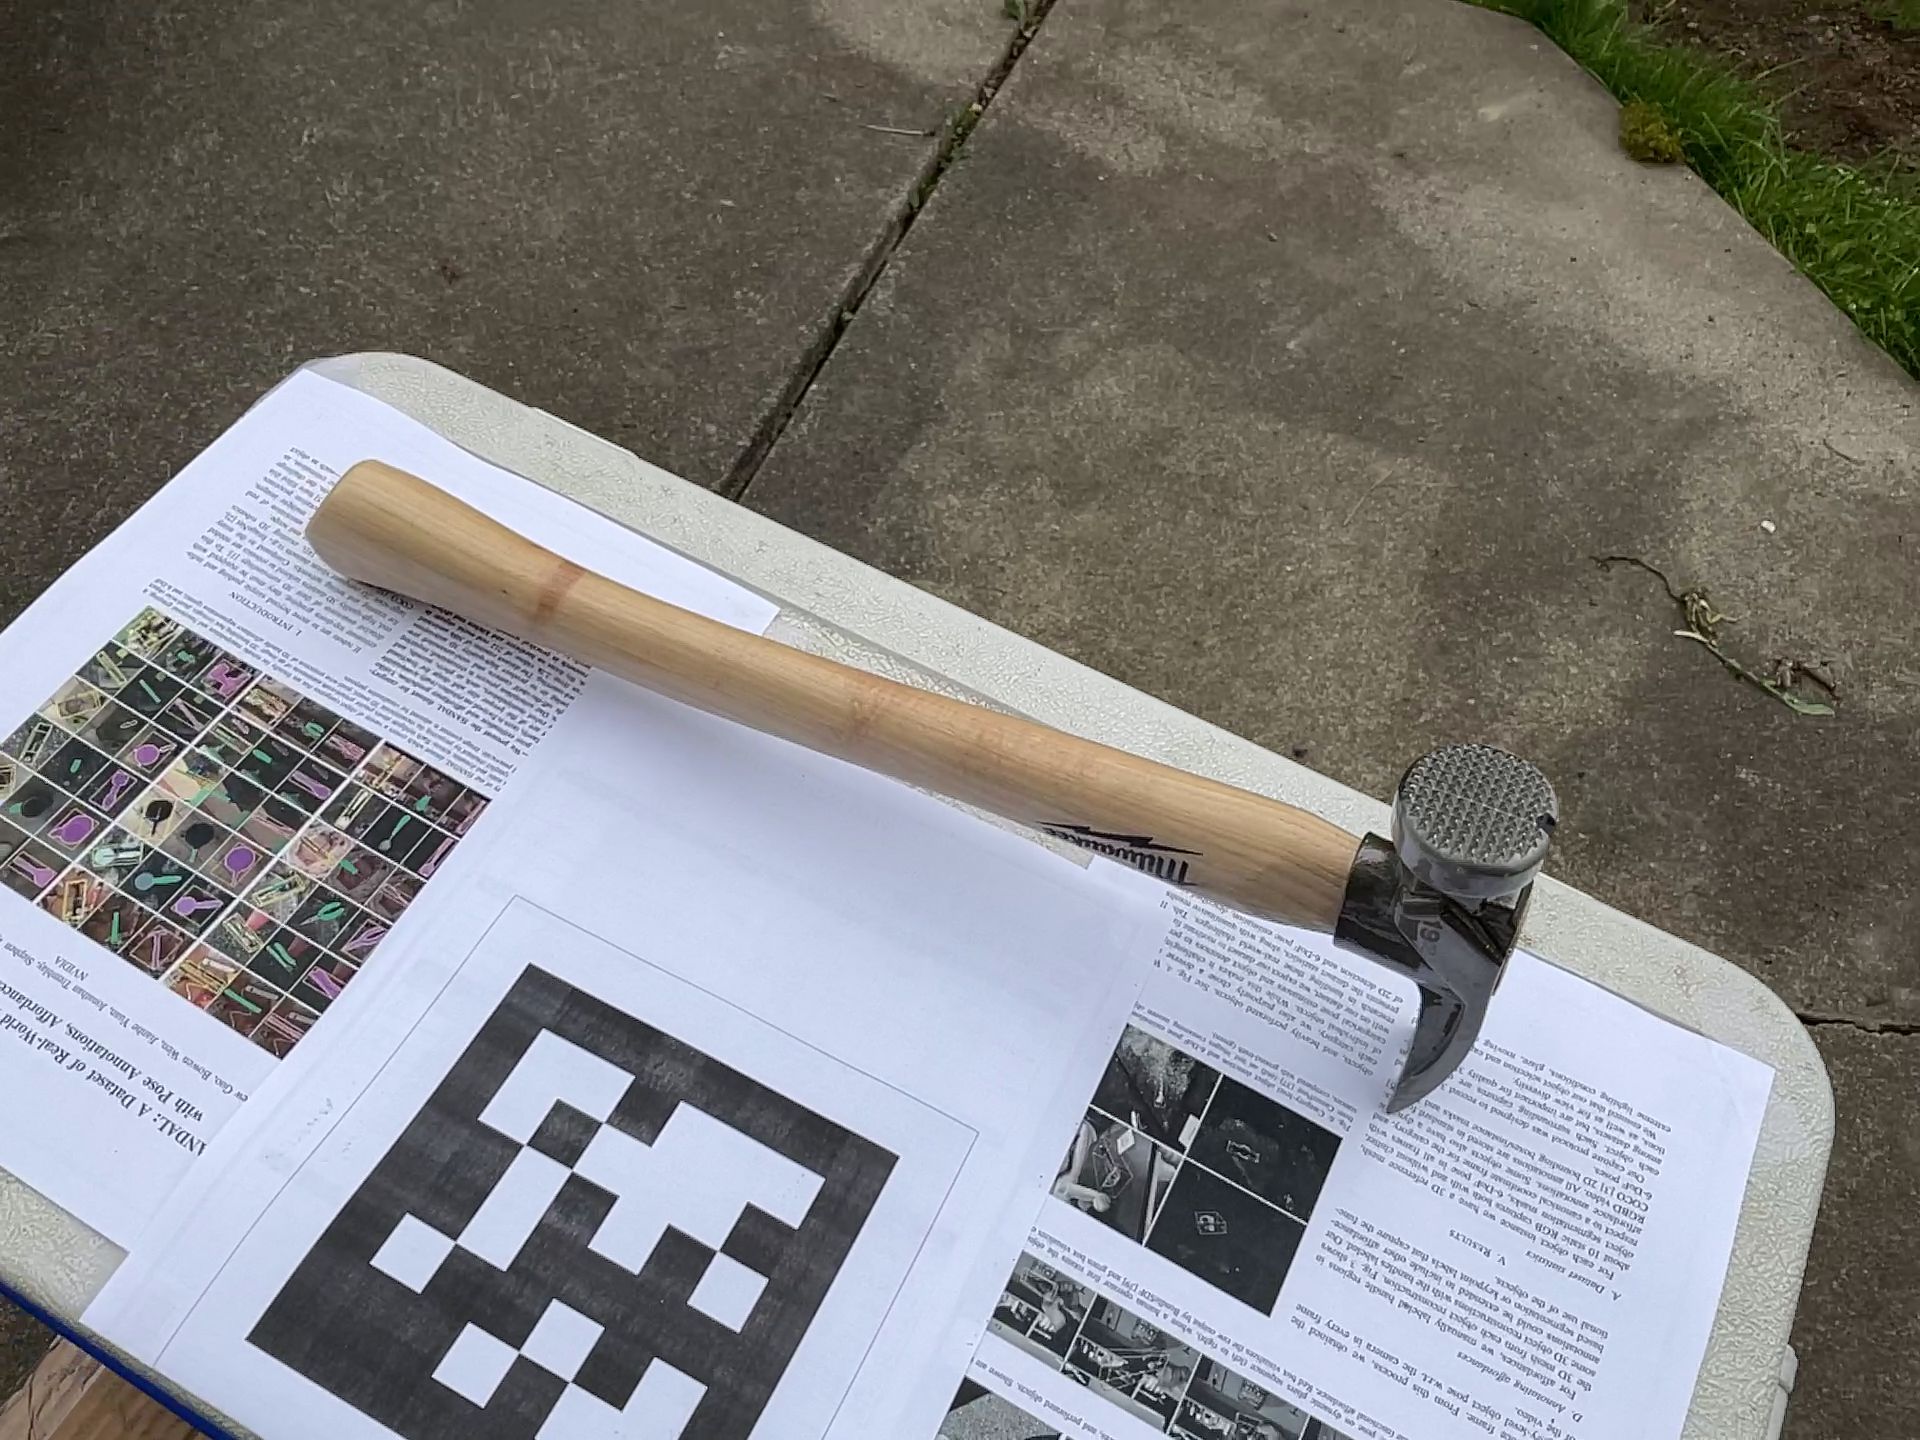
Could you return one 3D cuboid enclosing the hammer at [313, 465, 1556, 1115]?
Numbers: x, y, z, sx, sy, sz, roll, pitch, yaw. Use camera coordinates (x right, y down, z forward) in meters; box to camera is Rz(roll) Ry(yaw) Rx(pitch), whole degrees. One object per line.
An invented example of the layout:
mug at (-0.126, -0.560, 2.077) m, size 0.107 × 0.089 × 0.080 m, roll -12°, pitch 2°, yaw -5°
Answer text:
hammer at (-0.034, 0.005, 0.505) m, size 0.410 × 0.146 × 0.038 m, roll 20°, pitch 57°, yaw 20°
